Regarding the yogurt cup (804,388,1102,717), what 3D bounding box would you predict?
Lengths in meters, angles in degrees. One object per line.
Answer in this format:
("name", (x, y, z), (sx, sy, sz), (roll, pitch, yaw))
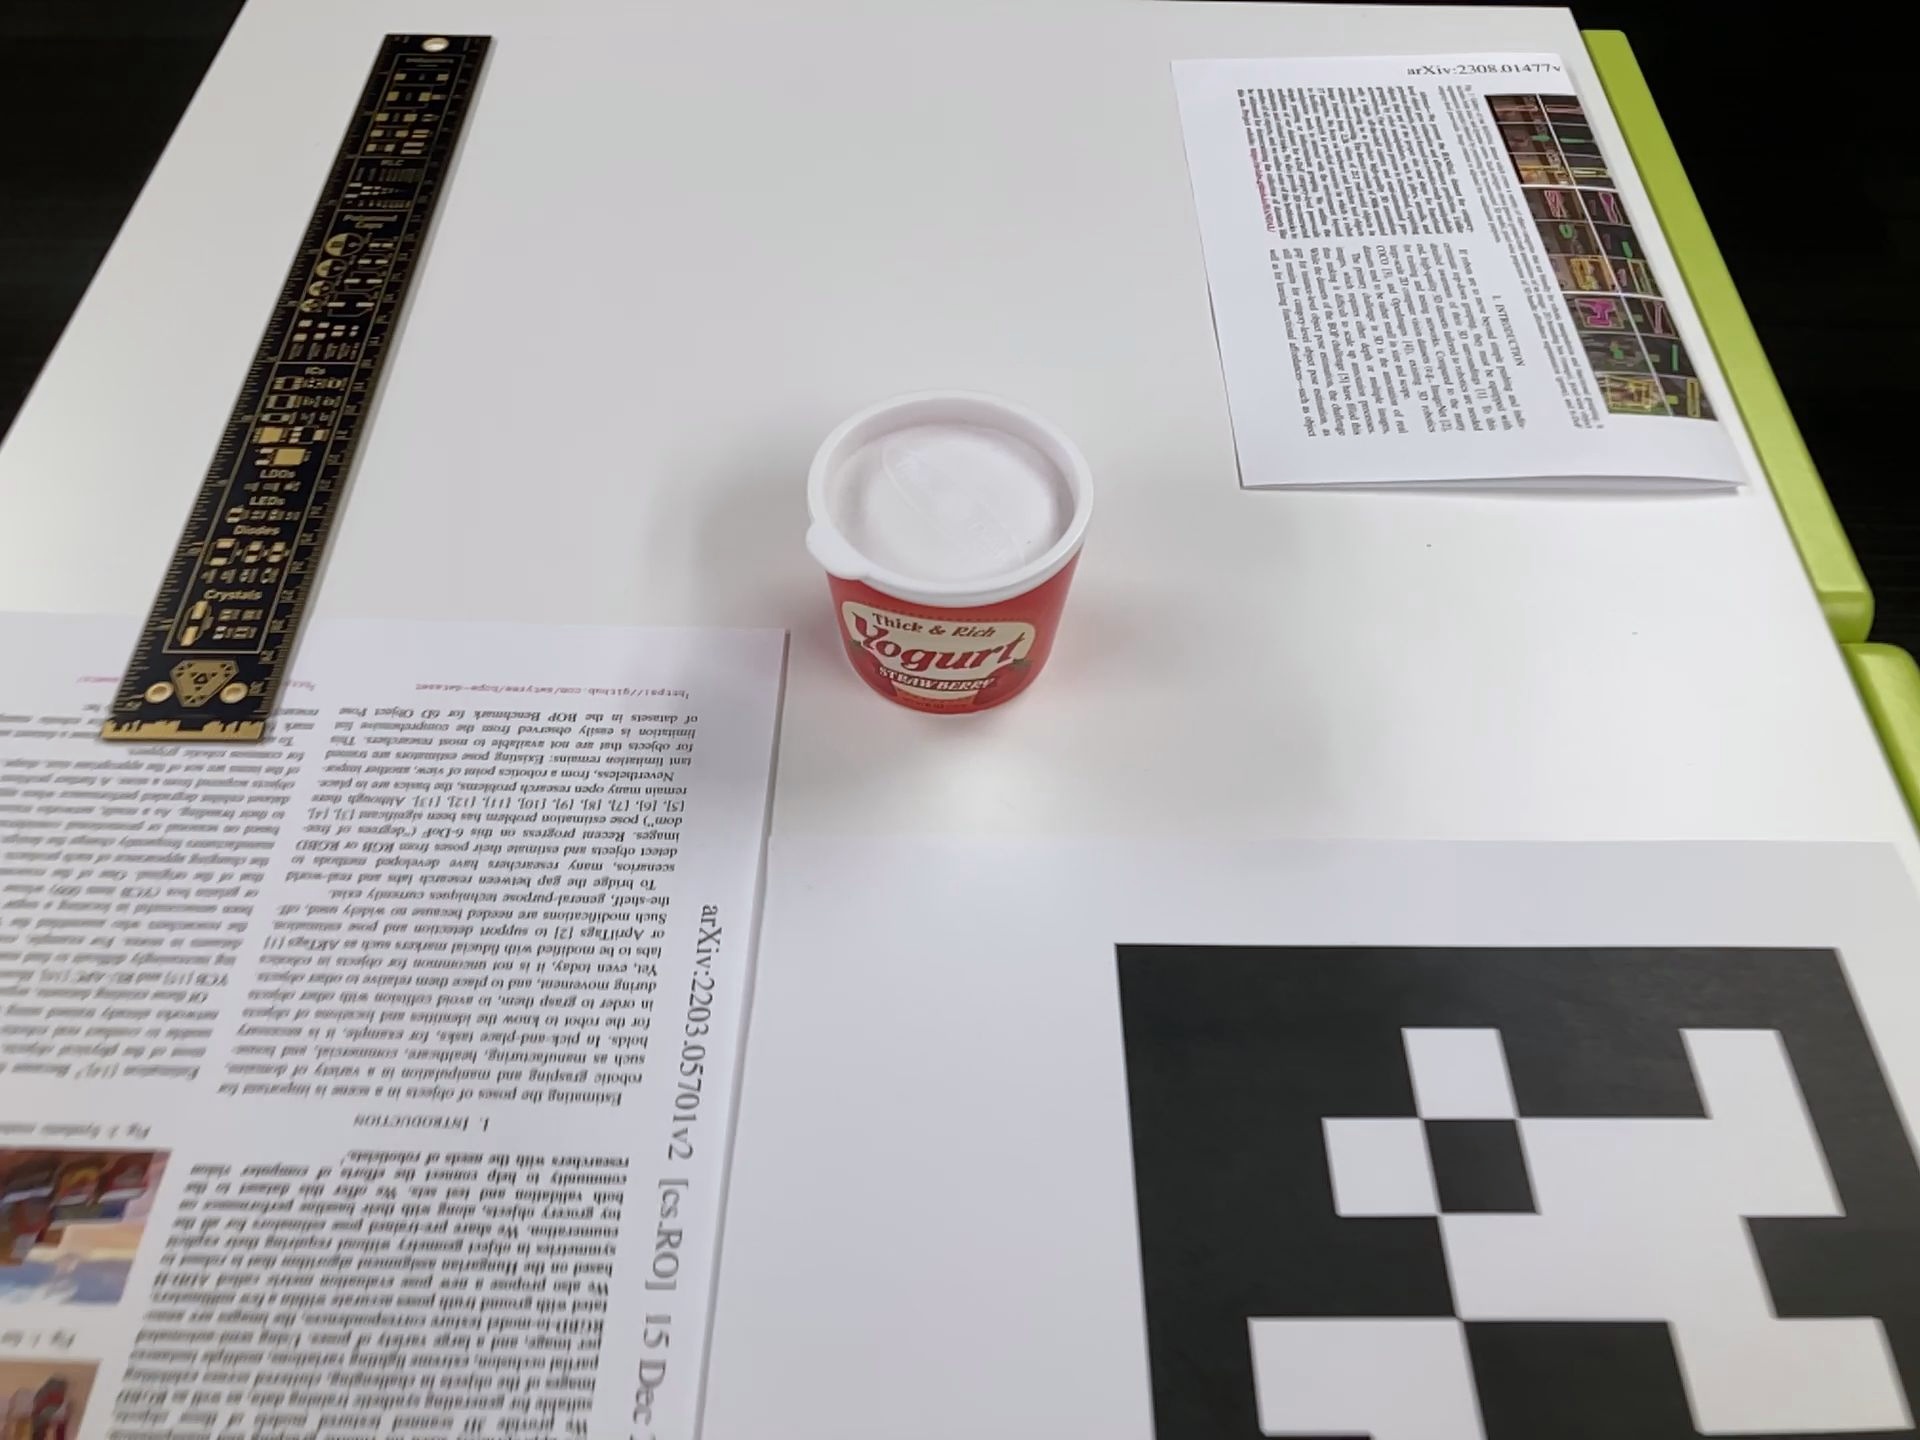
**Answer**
("yogurt cup", (-0.003, -0.038, 0.381), (0.072, 0.054, 0.072), (1, 52, -2))
